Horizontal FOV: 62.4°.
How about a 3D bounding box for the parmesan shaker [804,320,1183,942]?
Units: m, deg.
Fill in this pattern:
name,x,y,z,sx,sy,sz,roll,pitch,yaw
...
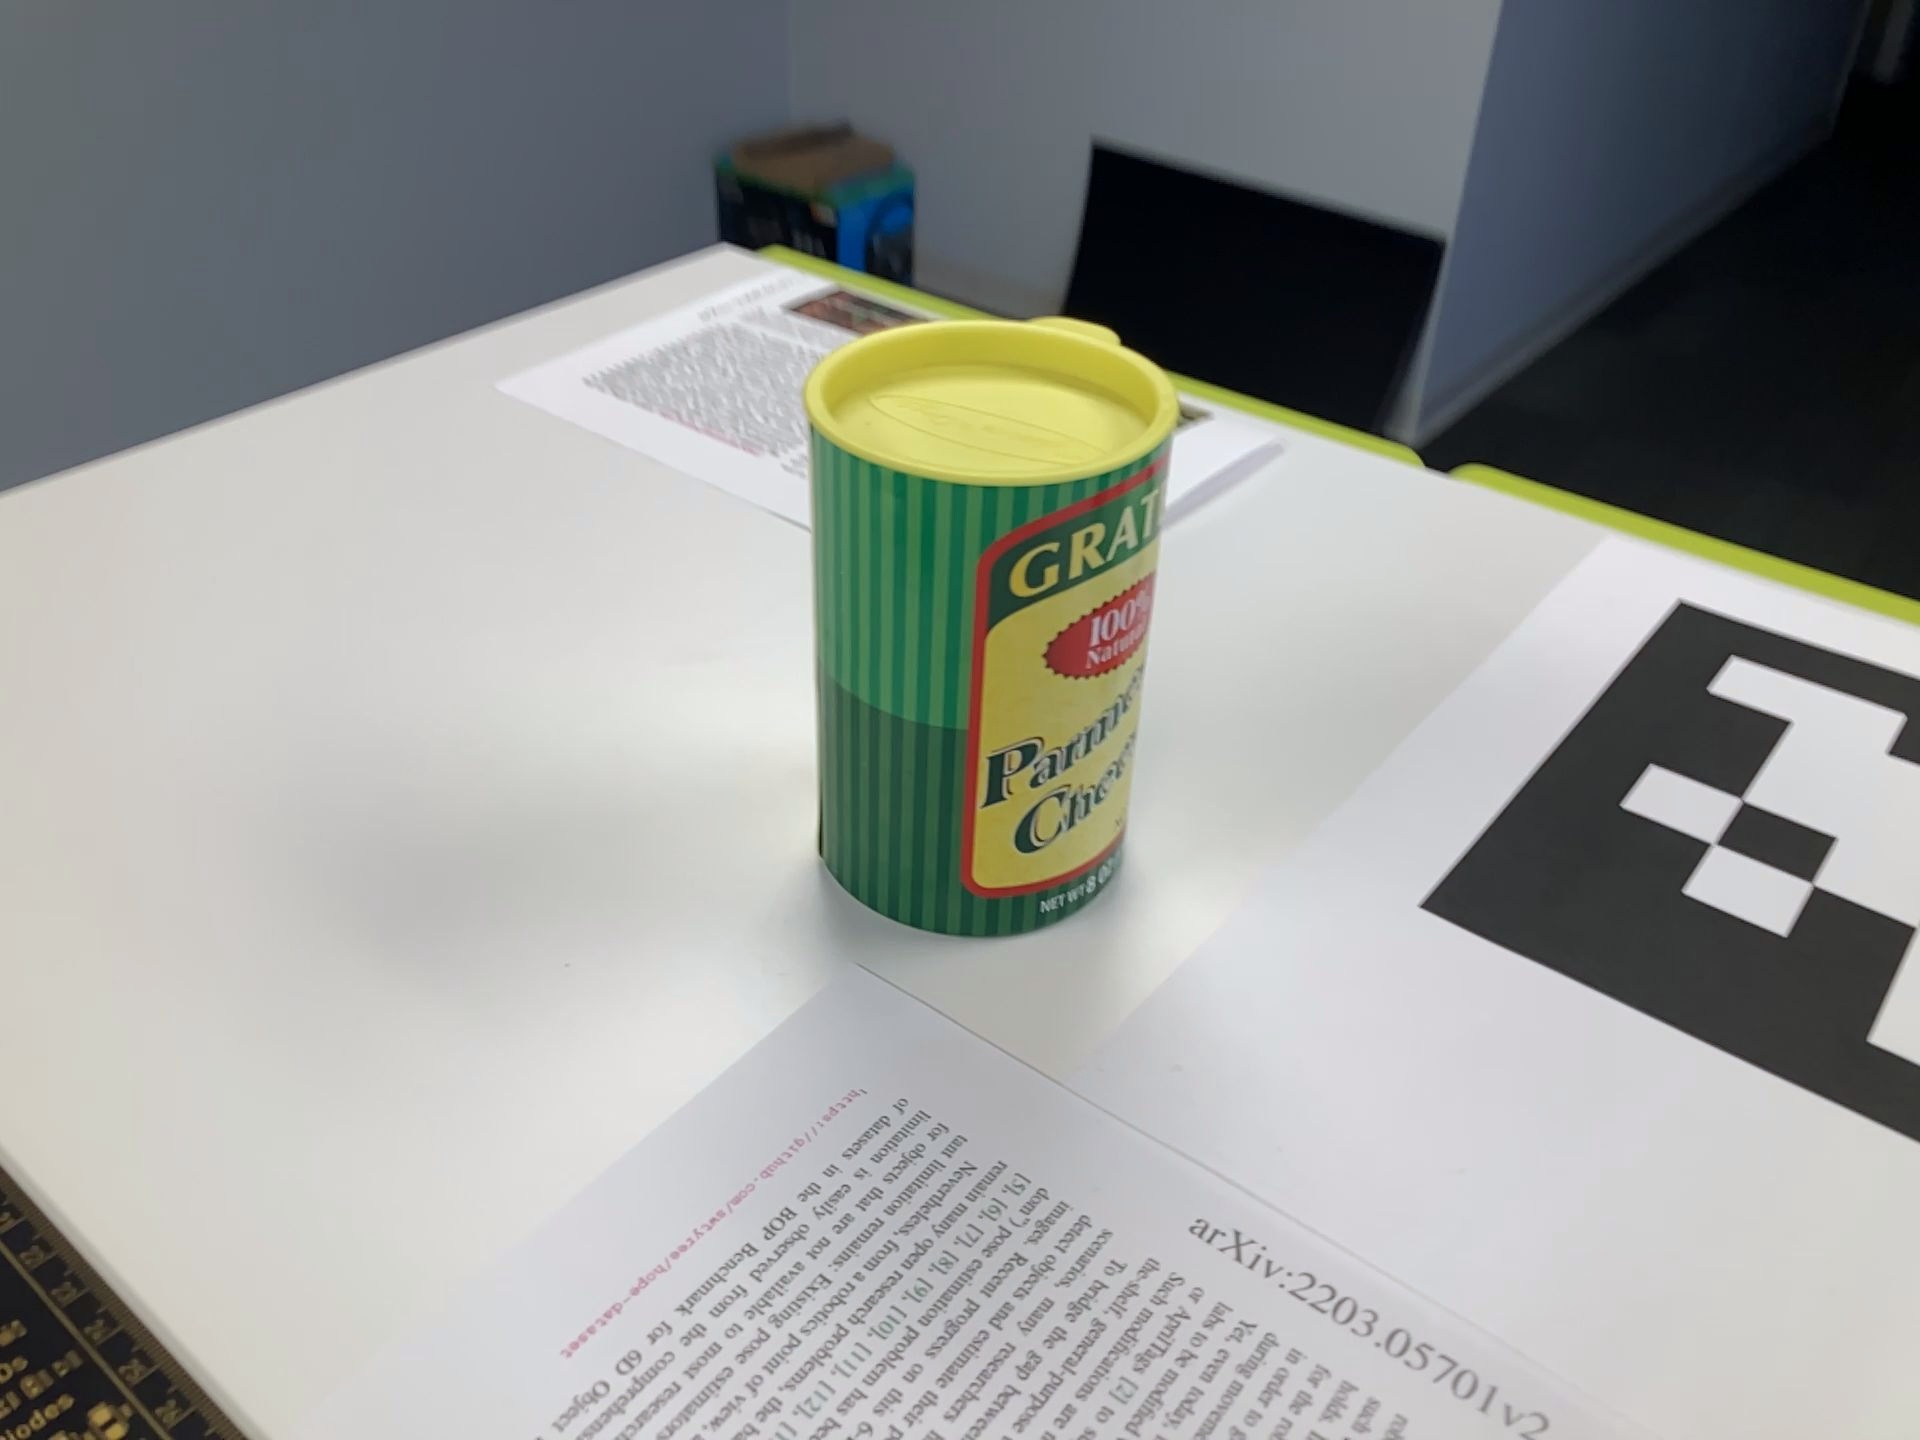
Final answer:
name,x,y,z,sx,sy,sz,roll,pitch,yaw
parmesan shaker,0.006,-0.017,0.309,0.071,0.103,0.071,1,36,-1
